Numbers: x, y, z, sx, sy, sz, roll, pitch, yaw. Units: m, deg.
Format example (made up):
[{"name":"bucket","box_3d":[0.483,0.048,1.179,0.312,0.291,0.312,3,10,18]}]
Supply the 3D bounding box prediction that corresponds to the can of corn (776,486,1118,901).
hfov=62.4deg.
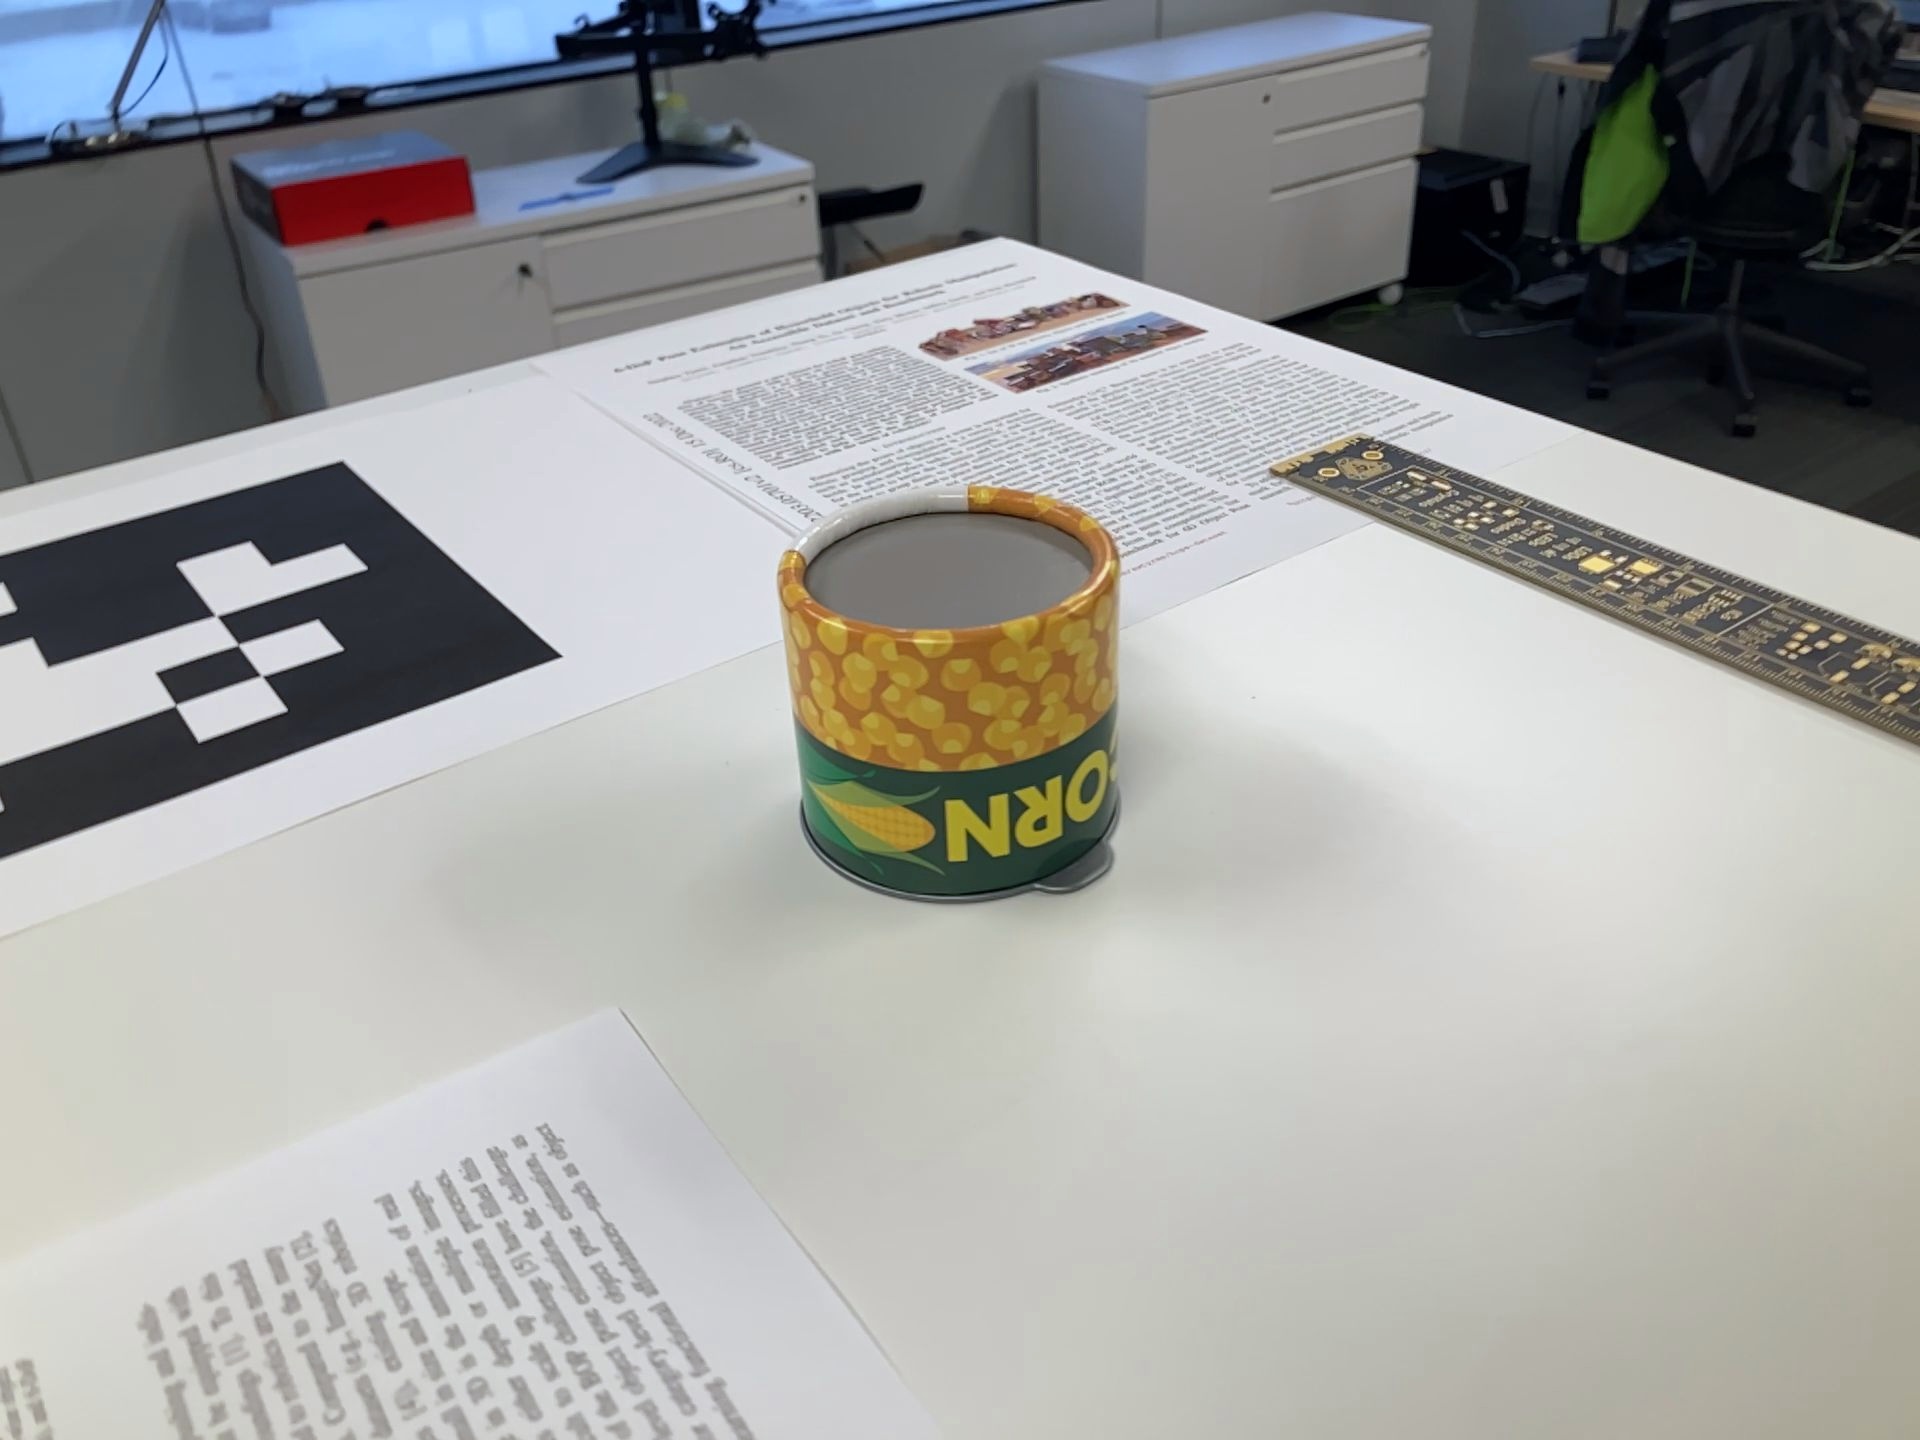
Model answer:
[{"name":"can of corn","box_3d":[0.000,-0.006,0.315,0.071,0.058,0.071,-2,32,1]}]
